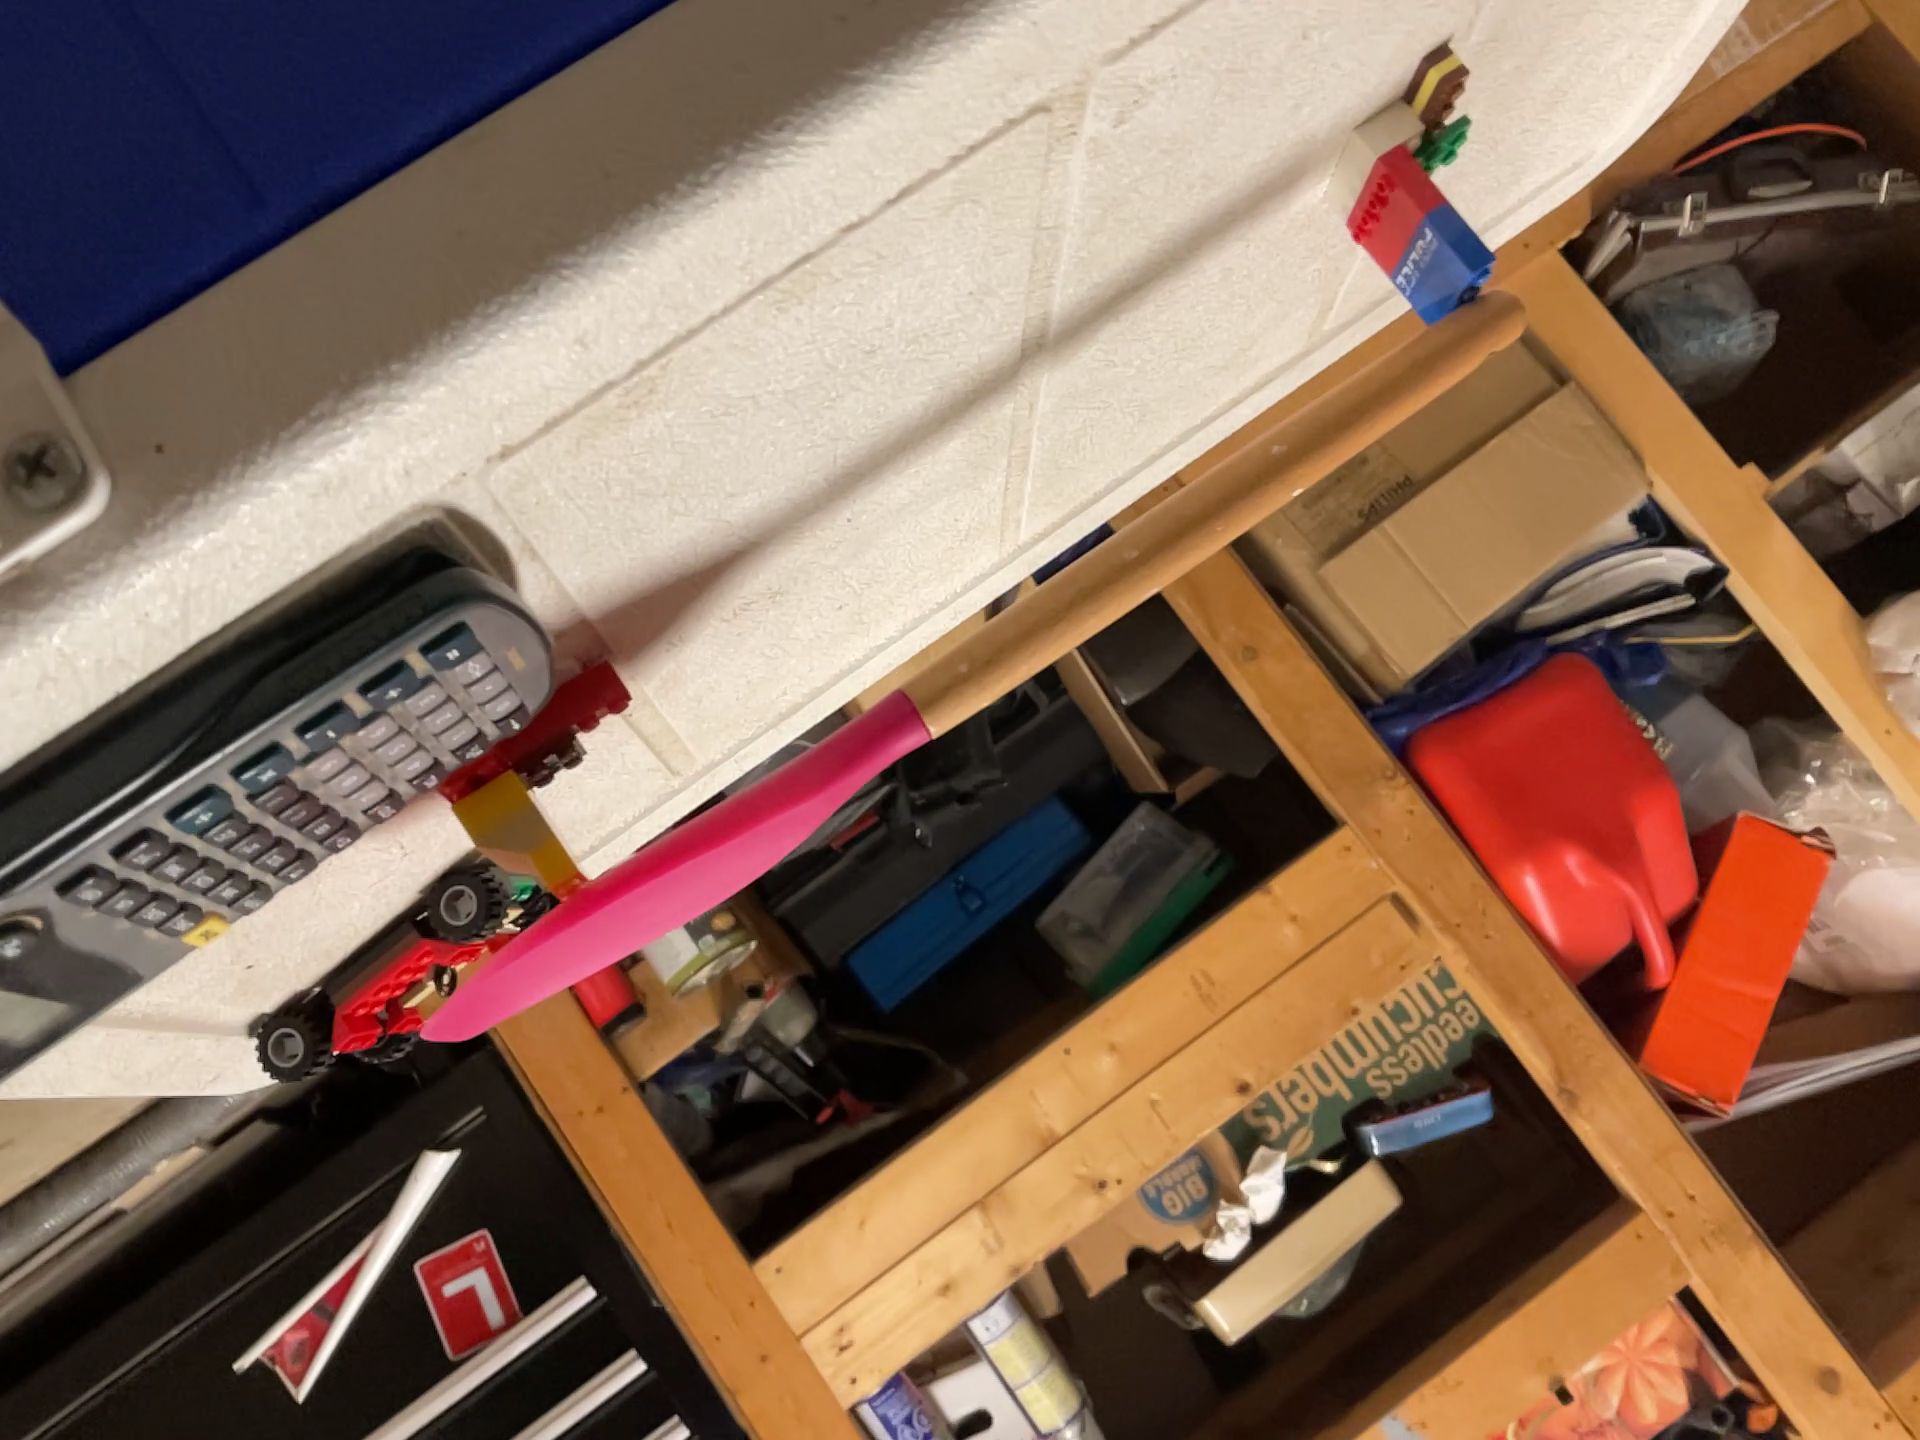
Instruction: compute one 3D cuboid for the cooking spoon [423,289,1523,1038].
[{"bbox_3d":[0.009,-0.017,0.389,0.319,0.017,0.068,-34,170,-7],"label":"cooking spoon"}]
